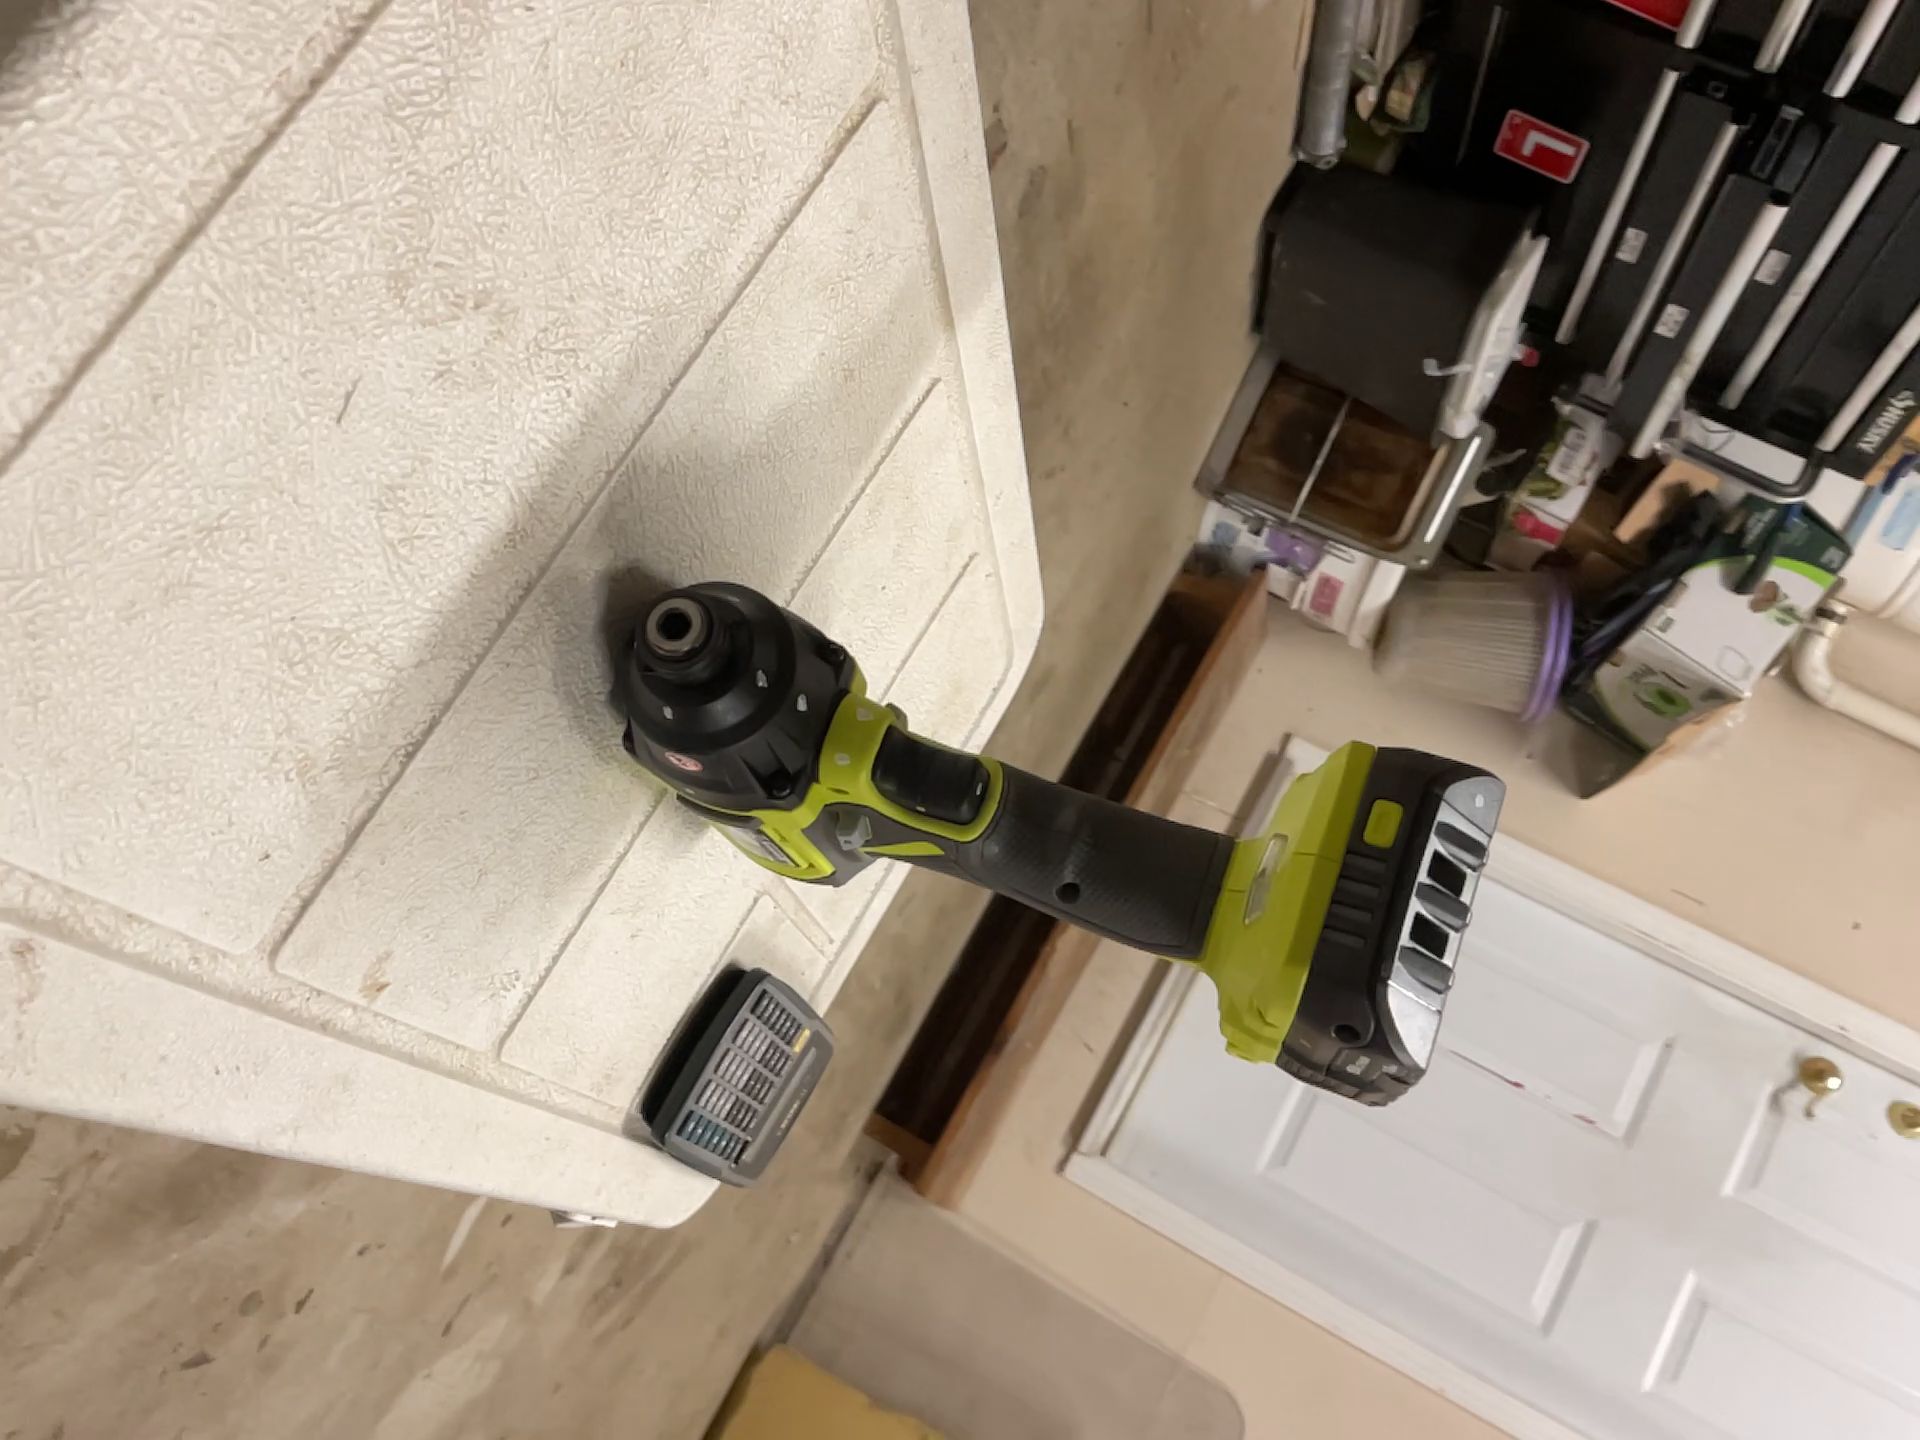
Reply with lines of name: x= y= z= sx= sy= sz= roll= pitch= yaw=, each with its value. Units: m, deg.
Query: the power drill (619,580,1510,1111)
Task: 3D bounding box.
power drill: x=0.021 y=0.029 z=0.434 sx=0.171 sy=0.223 sz=0.080 roll=68 pitch=40 yaw=-71
